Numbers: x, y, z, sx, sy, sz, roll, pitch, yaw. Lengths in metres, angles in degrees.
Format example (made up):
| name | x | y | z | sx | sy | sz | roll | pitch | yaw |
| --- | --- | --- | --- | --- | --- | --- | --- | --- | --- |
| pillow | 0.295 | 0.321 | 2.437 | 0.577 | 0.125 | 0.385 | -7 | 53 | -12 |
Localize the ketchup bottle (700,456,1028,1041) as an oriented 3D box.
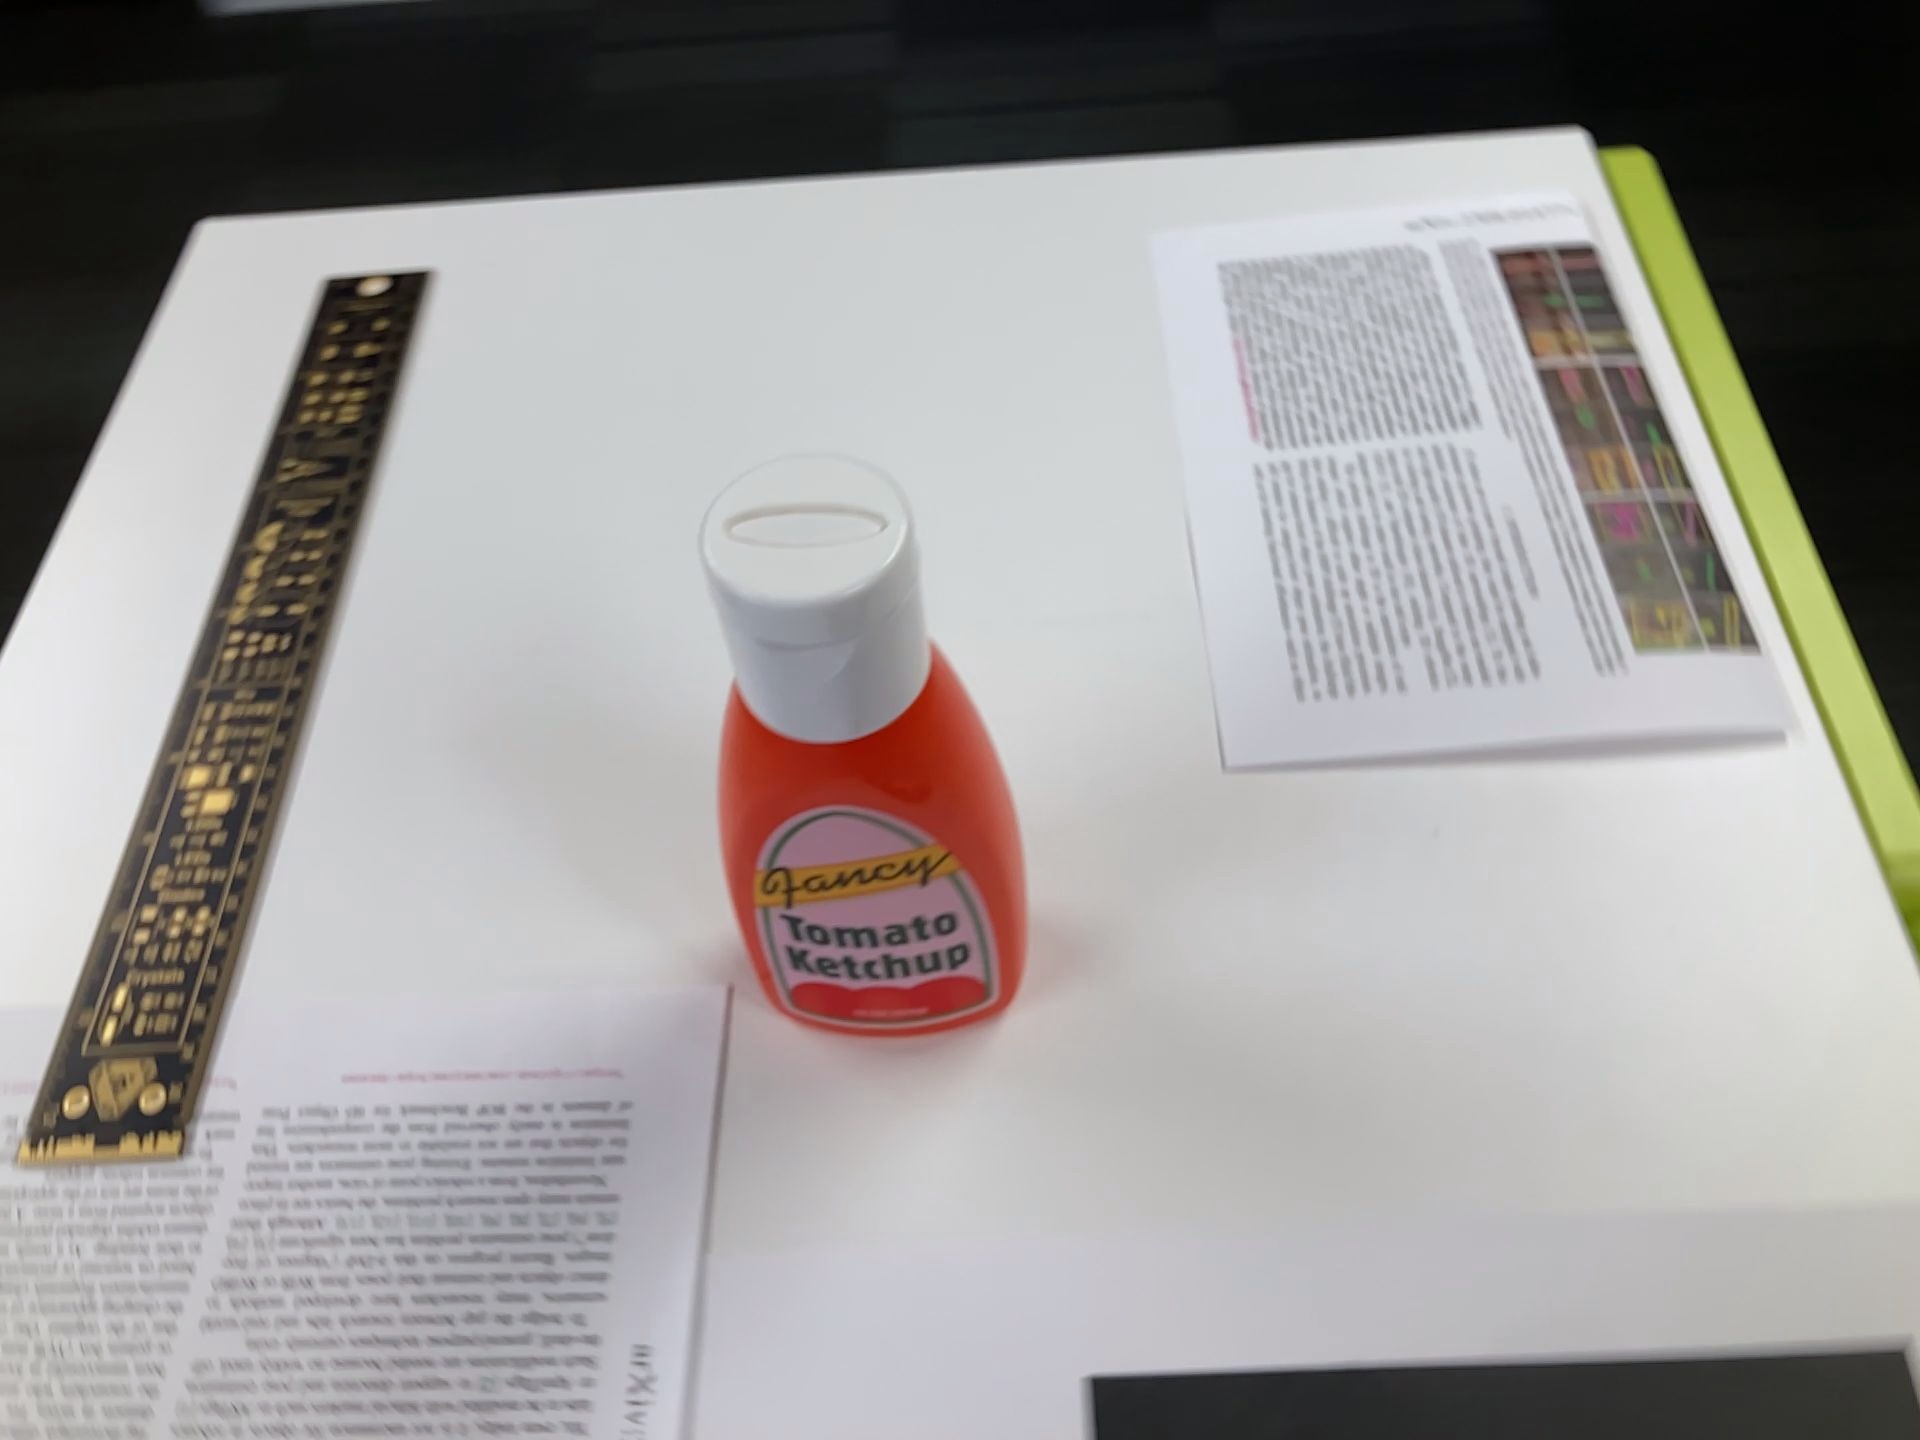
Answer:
| name | x | y | z | sx | sy | sz | roll | pitch | yaw |
| --- | --- | --- | --- | --- | --- | --- | --- | --- | --- |
| ketchup bottle | -0.021 | 0.013 | 0.324 | 0.065 | 0.149 | 0.043 | -2 | 52 | 4 |
